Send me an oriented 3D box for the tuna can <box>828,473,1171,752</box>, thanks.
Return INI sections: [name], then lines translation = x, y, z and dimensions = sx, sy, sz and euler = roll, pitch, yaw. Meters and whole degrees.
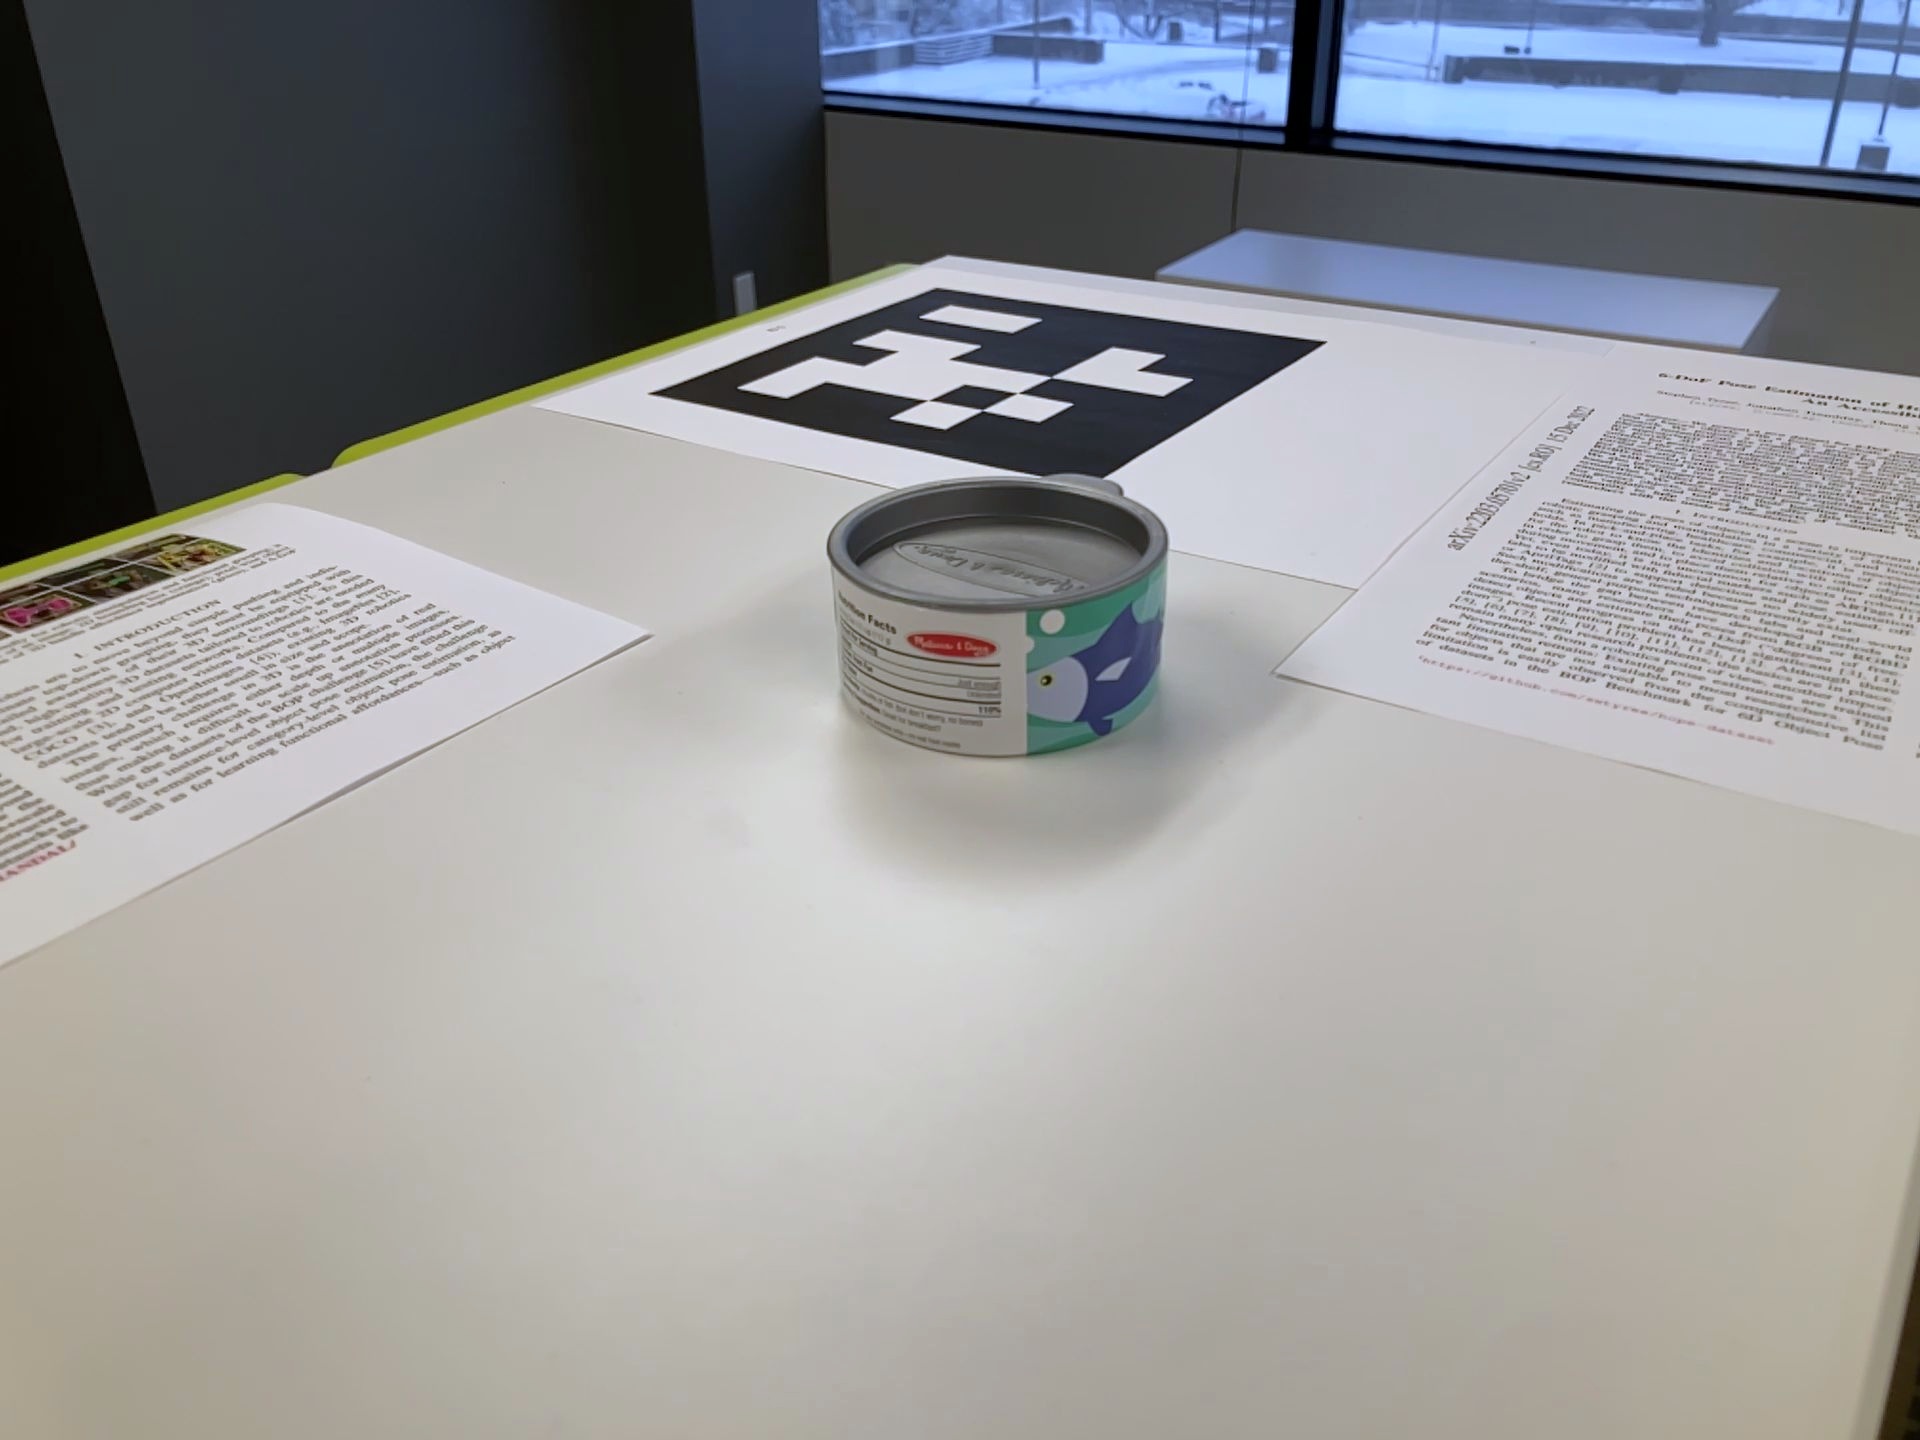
[tuna can]
translation = 0.009, -0.024, 0.316
dimensions = 0.071, 0.033, 0.071
euler = -1, 28, 1
